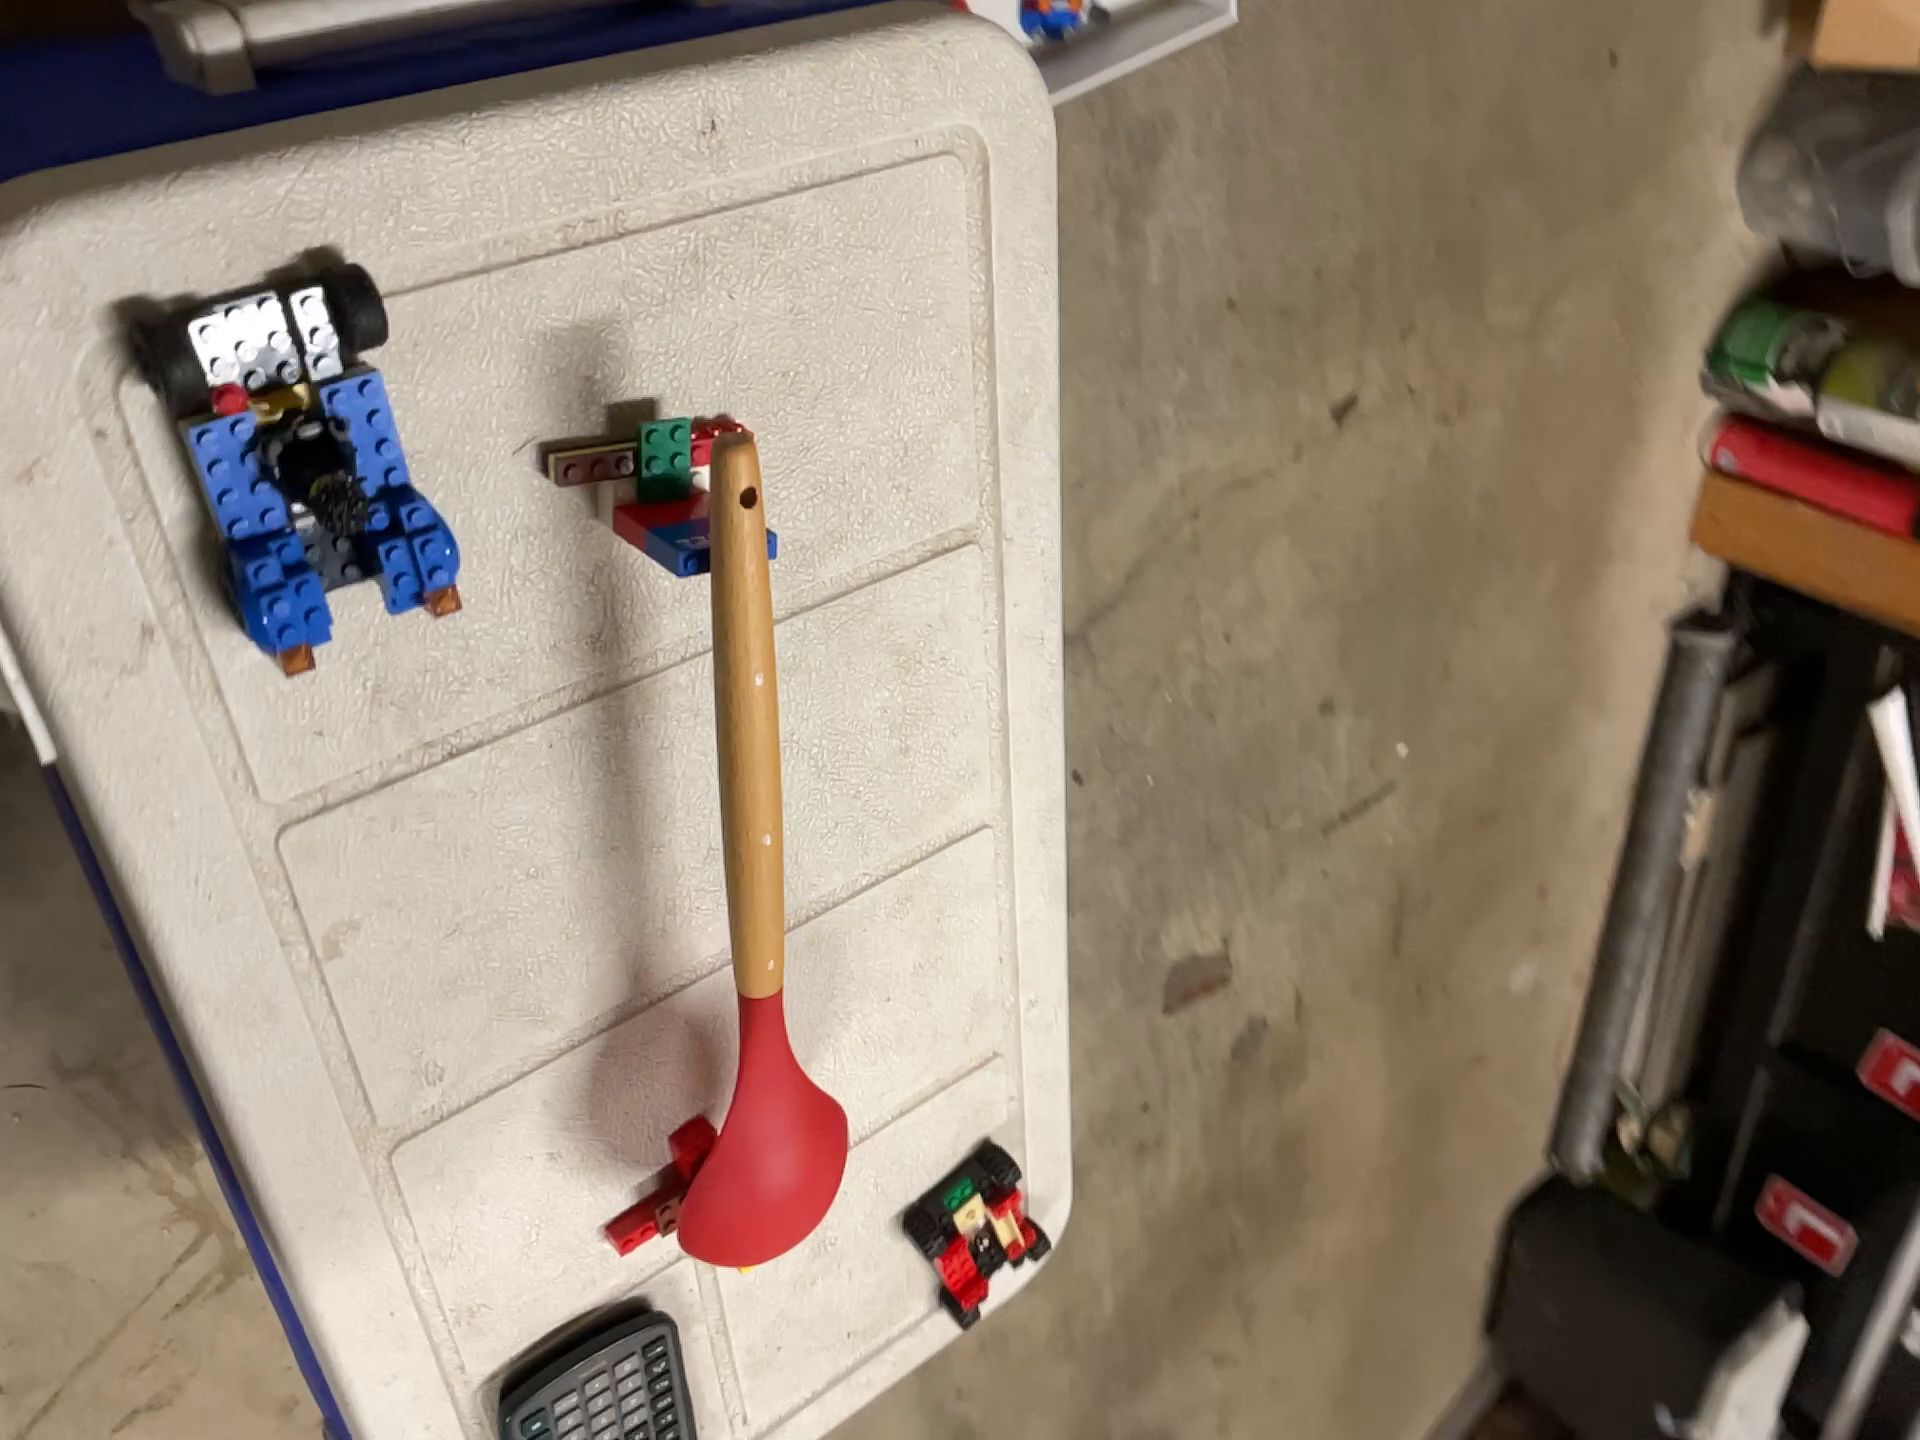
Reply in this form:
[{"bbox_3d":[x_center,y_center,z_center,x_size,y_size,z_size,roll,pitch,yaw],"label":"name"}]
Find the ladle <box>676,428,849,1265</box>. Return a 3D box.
[{"bbox_3d":[-0.063,0.061,0.498,0.069,0.031,0.315,-20,127,-33],"label":"ladle"}]
